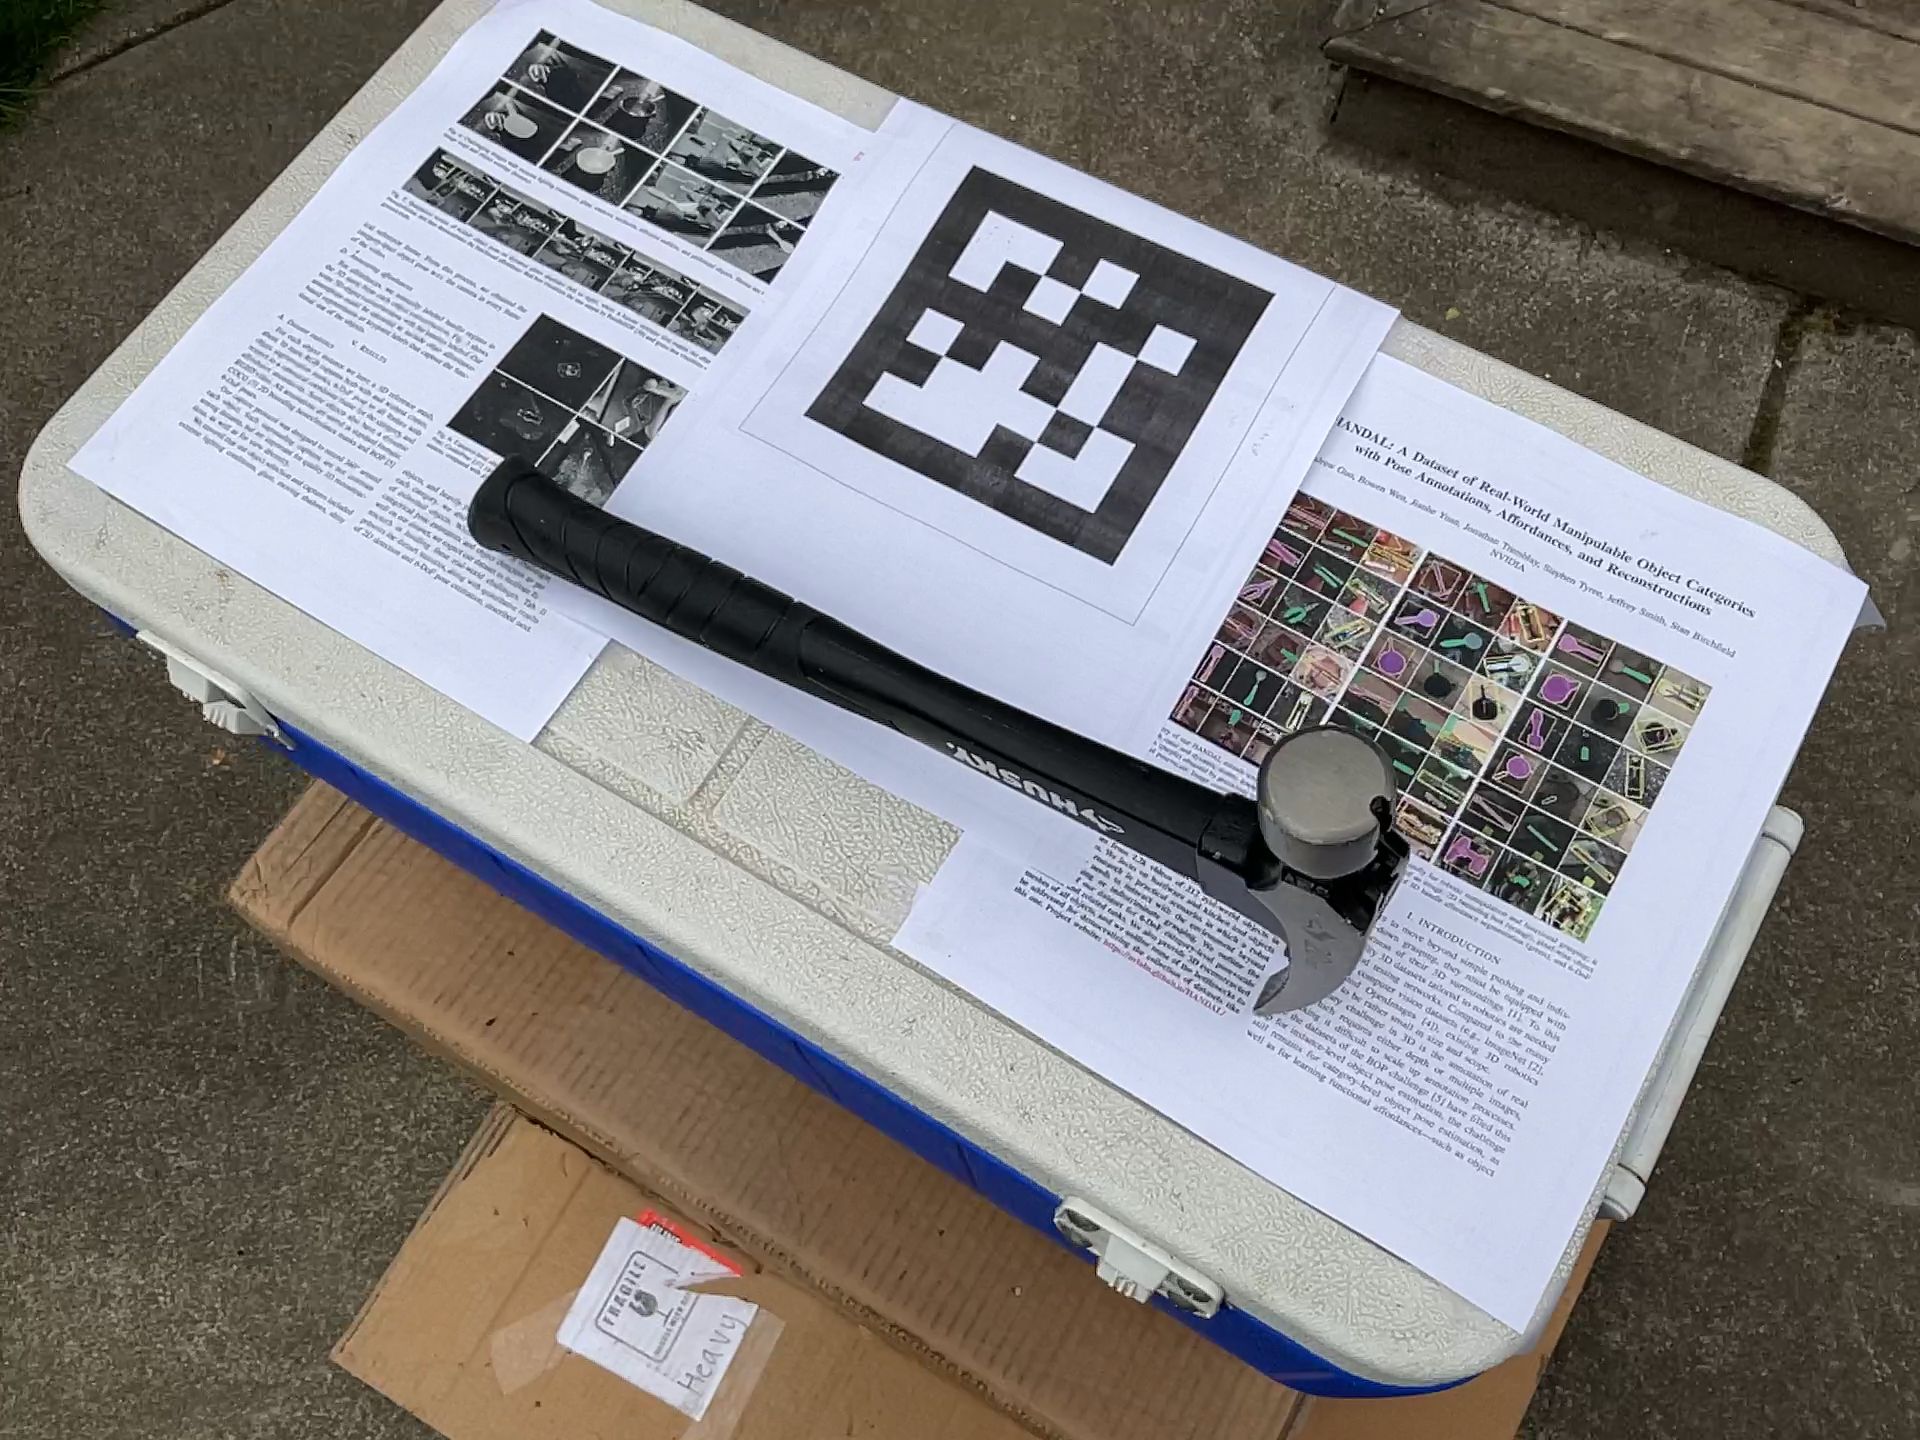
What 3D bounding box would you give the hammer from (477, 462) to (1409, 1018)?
[{"bbox_3d":[-0.024,-0.008,0.500,0.335,0.146,0.035,25,69,24],"label":"hammer"}]
